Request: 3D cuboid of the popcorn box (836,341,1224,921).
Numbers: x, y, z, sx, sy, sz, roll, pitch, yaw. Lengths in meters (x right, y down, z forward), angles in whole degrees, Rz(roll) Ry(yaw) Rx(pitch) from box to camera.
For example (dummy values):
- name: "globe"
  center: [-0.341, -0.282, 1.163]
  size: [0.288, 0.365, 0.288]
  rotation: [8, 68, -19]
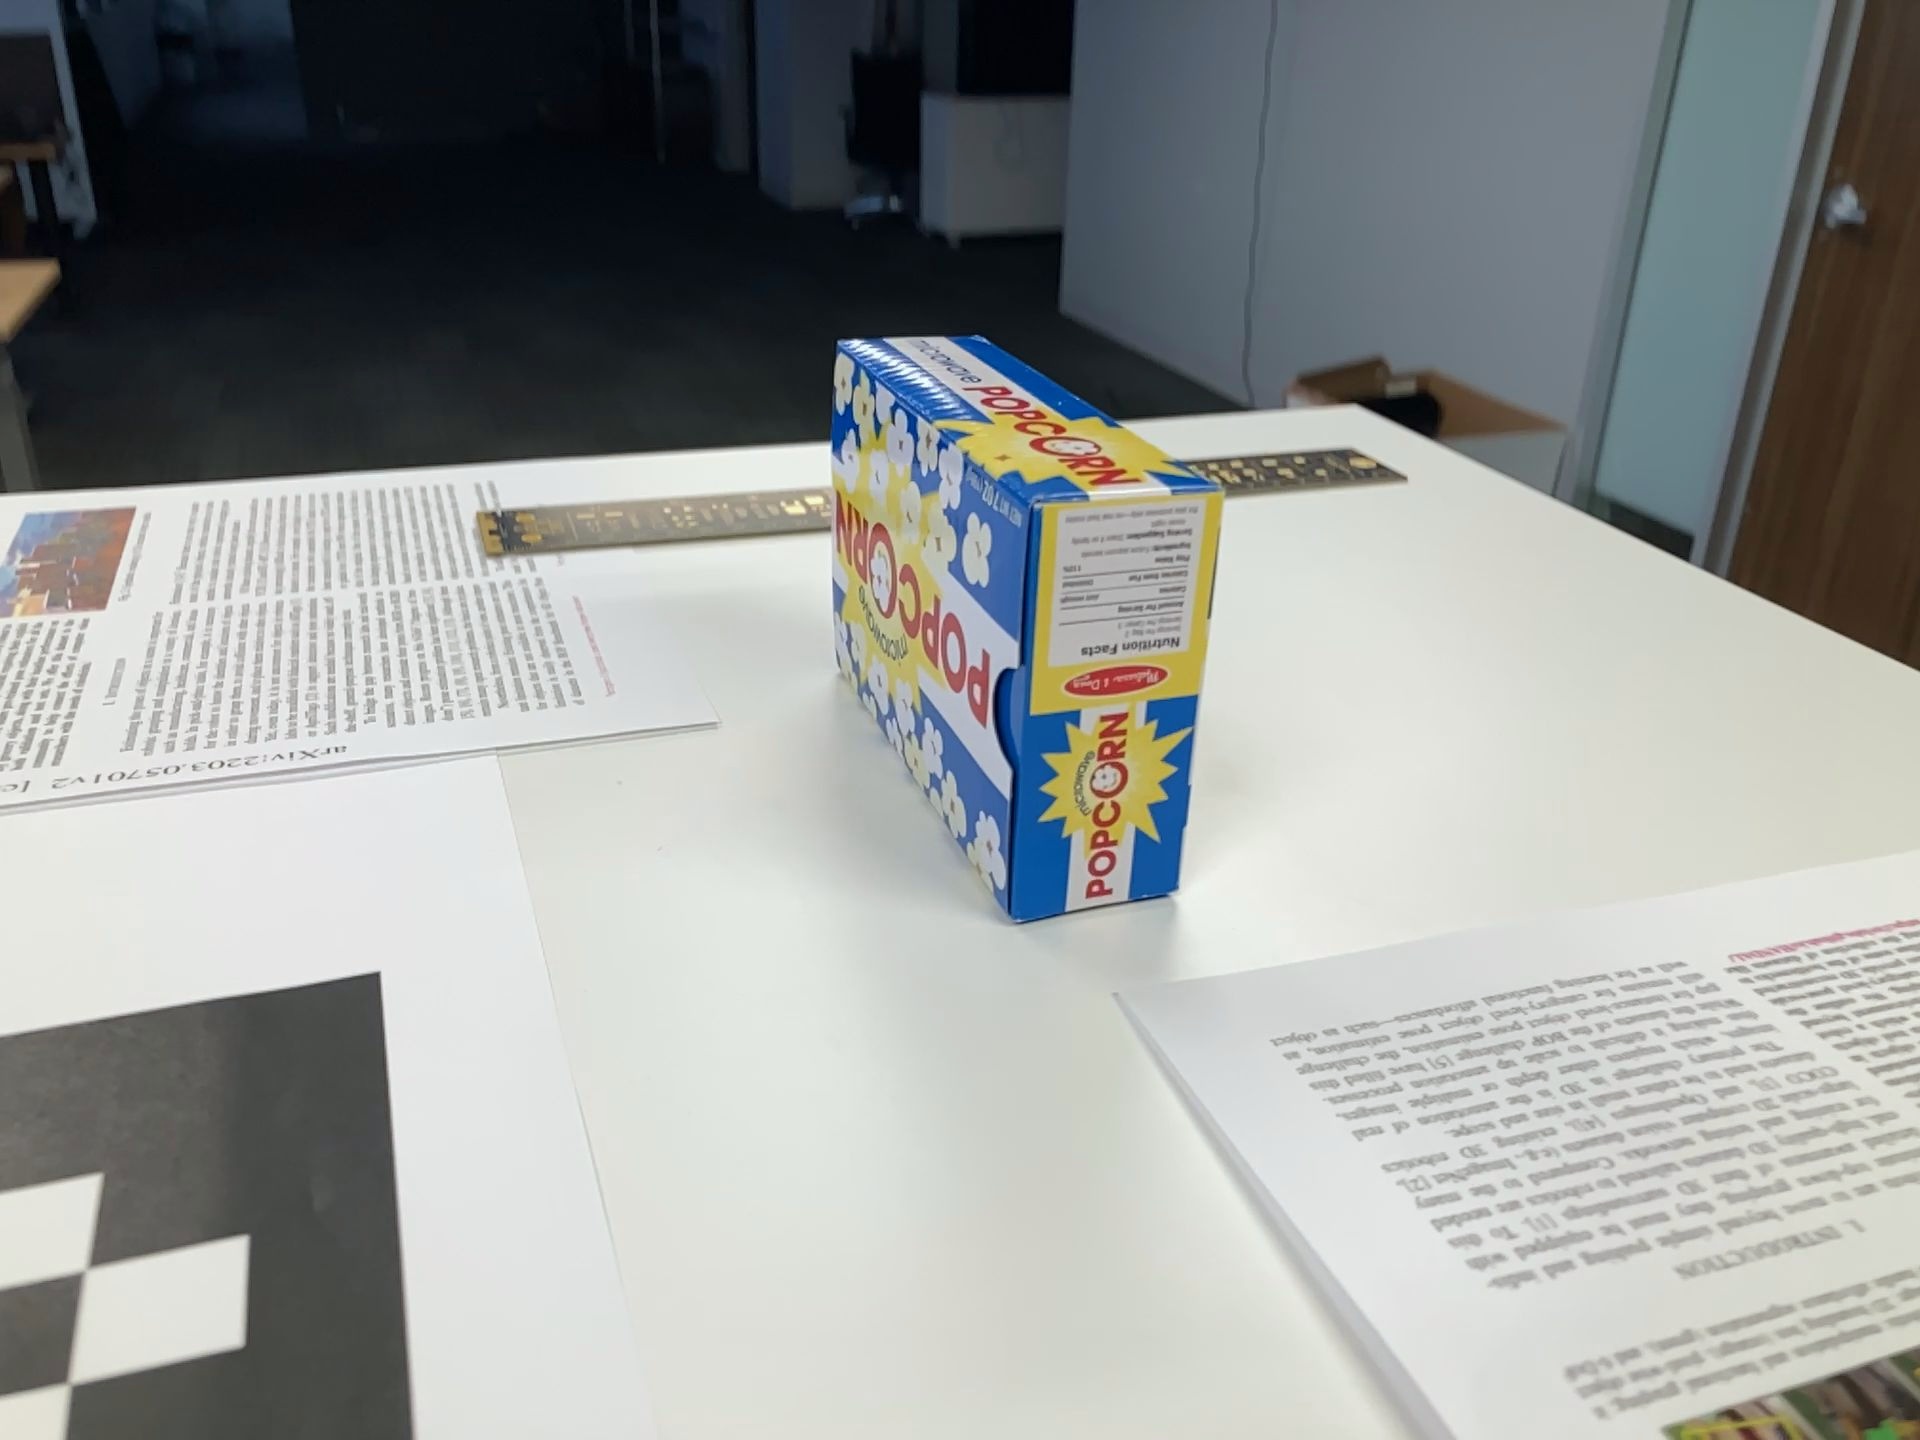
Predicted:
- name: "popcorn box"
  center: [0.007, -0.027, 0.343]
  size: [0.038, 0.085, 0.126]
  rotation: [-6, 27, -19]
